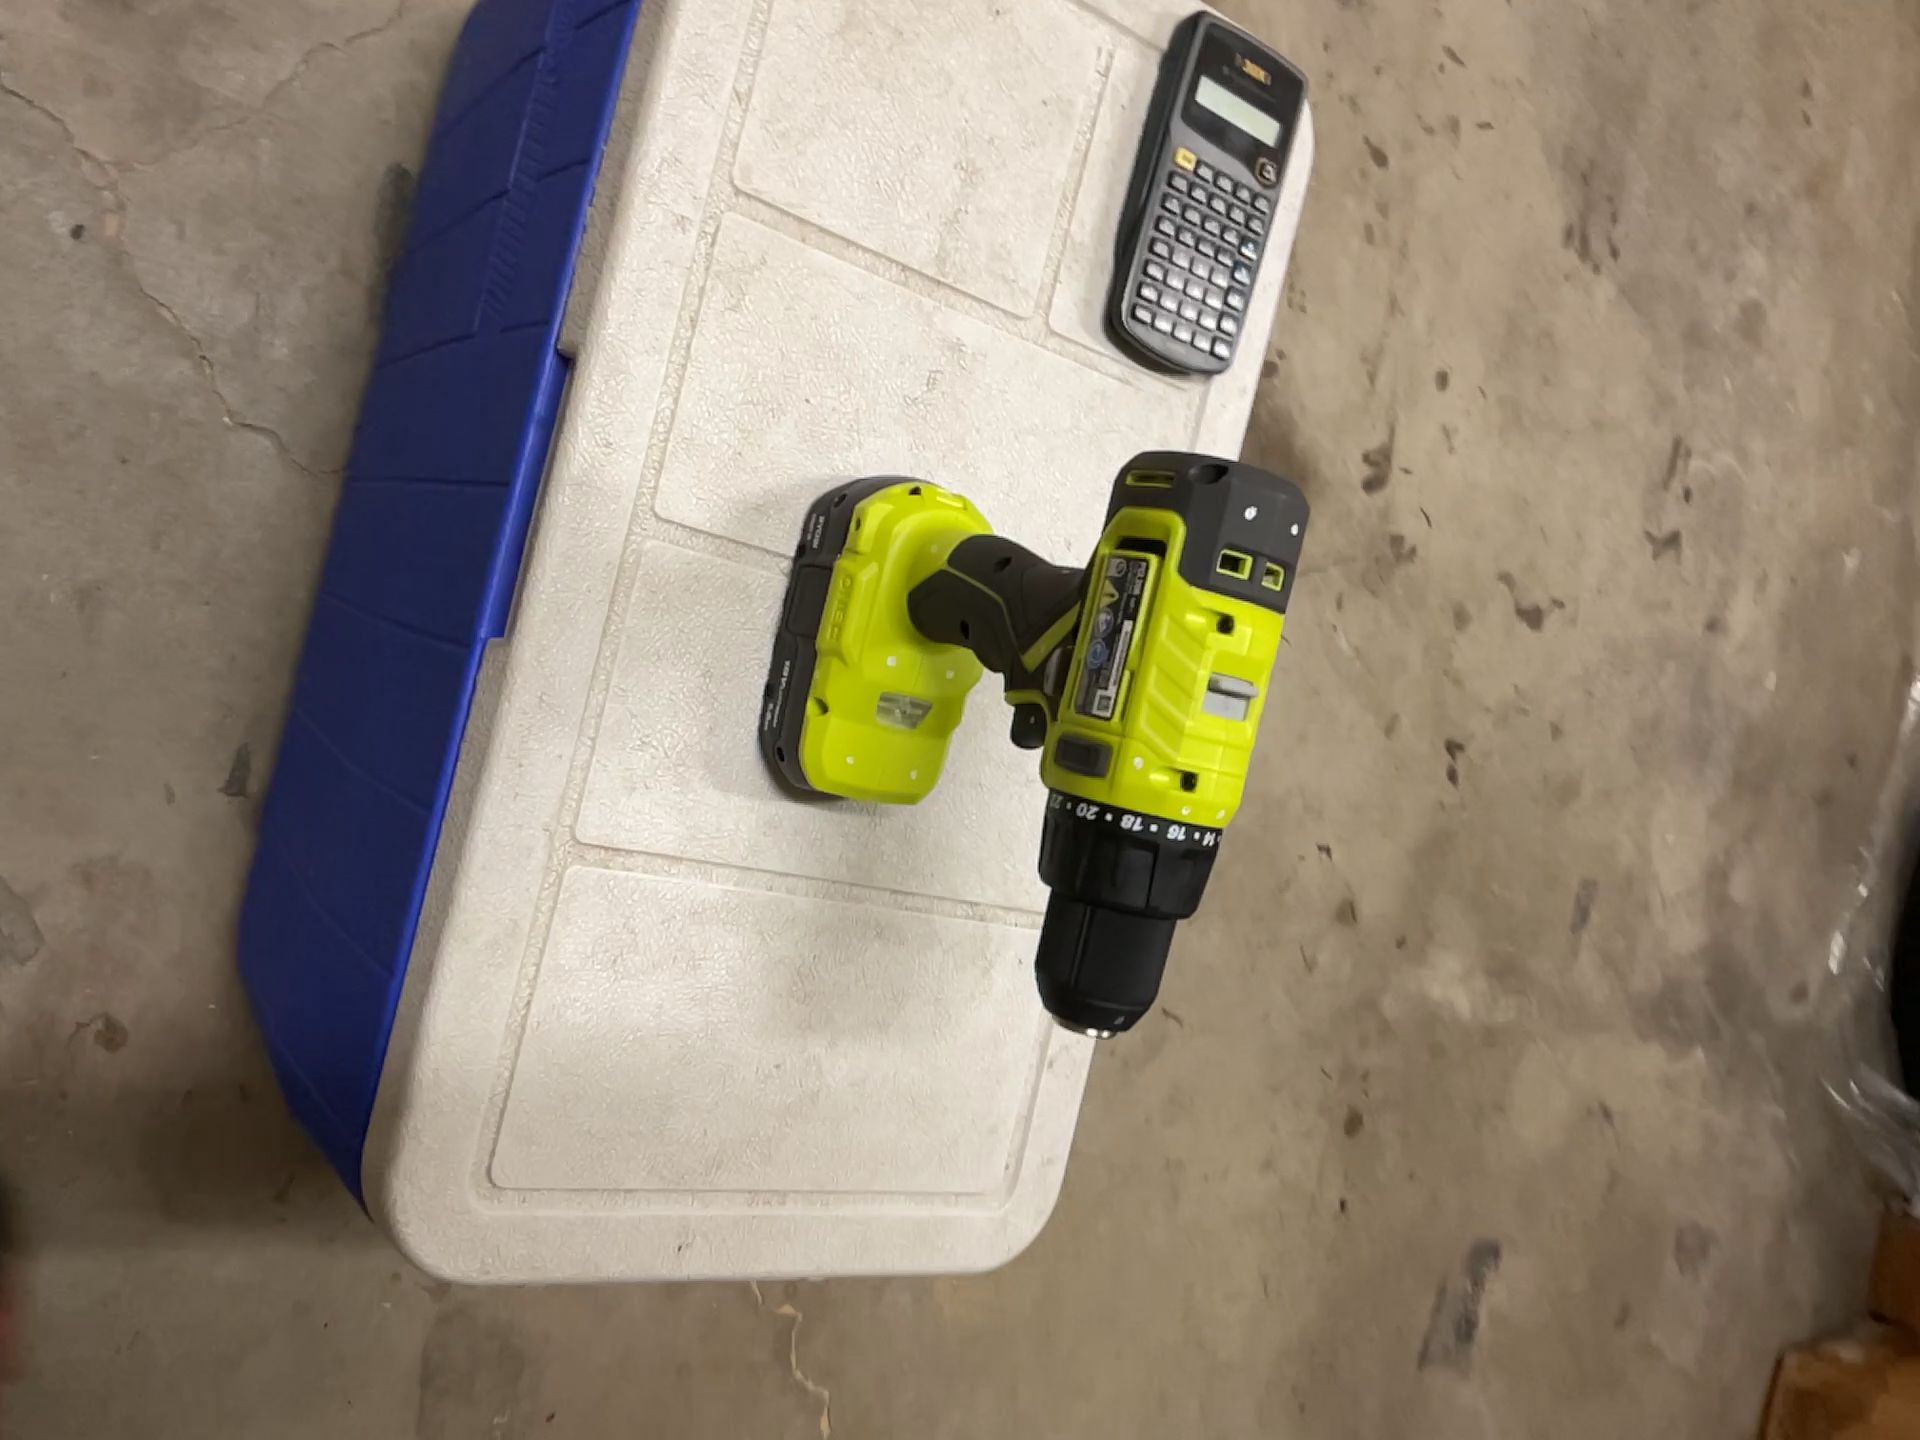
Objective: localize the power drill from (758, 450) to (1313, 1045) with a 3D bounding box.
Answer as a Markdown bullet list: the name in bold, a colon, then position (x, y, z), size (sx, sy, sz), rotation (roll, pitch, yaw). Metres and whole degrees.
- **power drill**: position (0.017, -0.003, 0.585), size (0.080, 0.228, 0.190), rotation (12, 93, -36)
